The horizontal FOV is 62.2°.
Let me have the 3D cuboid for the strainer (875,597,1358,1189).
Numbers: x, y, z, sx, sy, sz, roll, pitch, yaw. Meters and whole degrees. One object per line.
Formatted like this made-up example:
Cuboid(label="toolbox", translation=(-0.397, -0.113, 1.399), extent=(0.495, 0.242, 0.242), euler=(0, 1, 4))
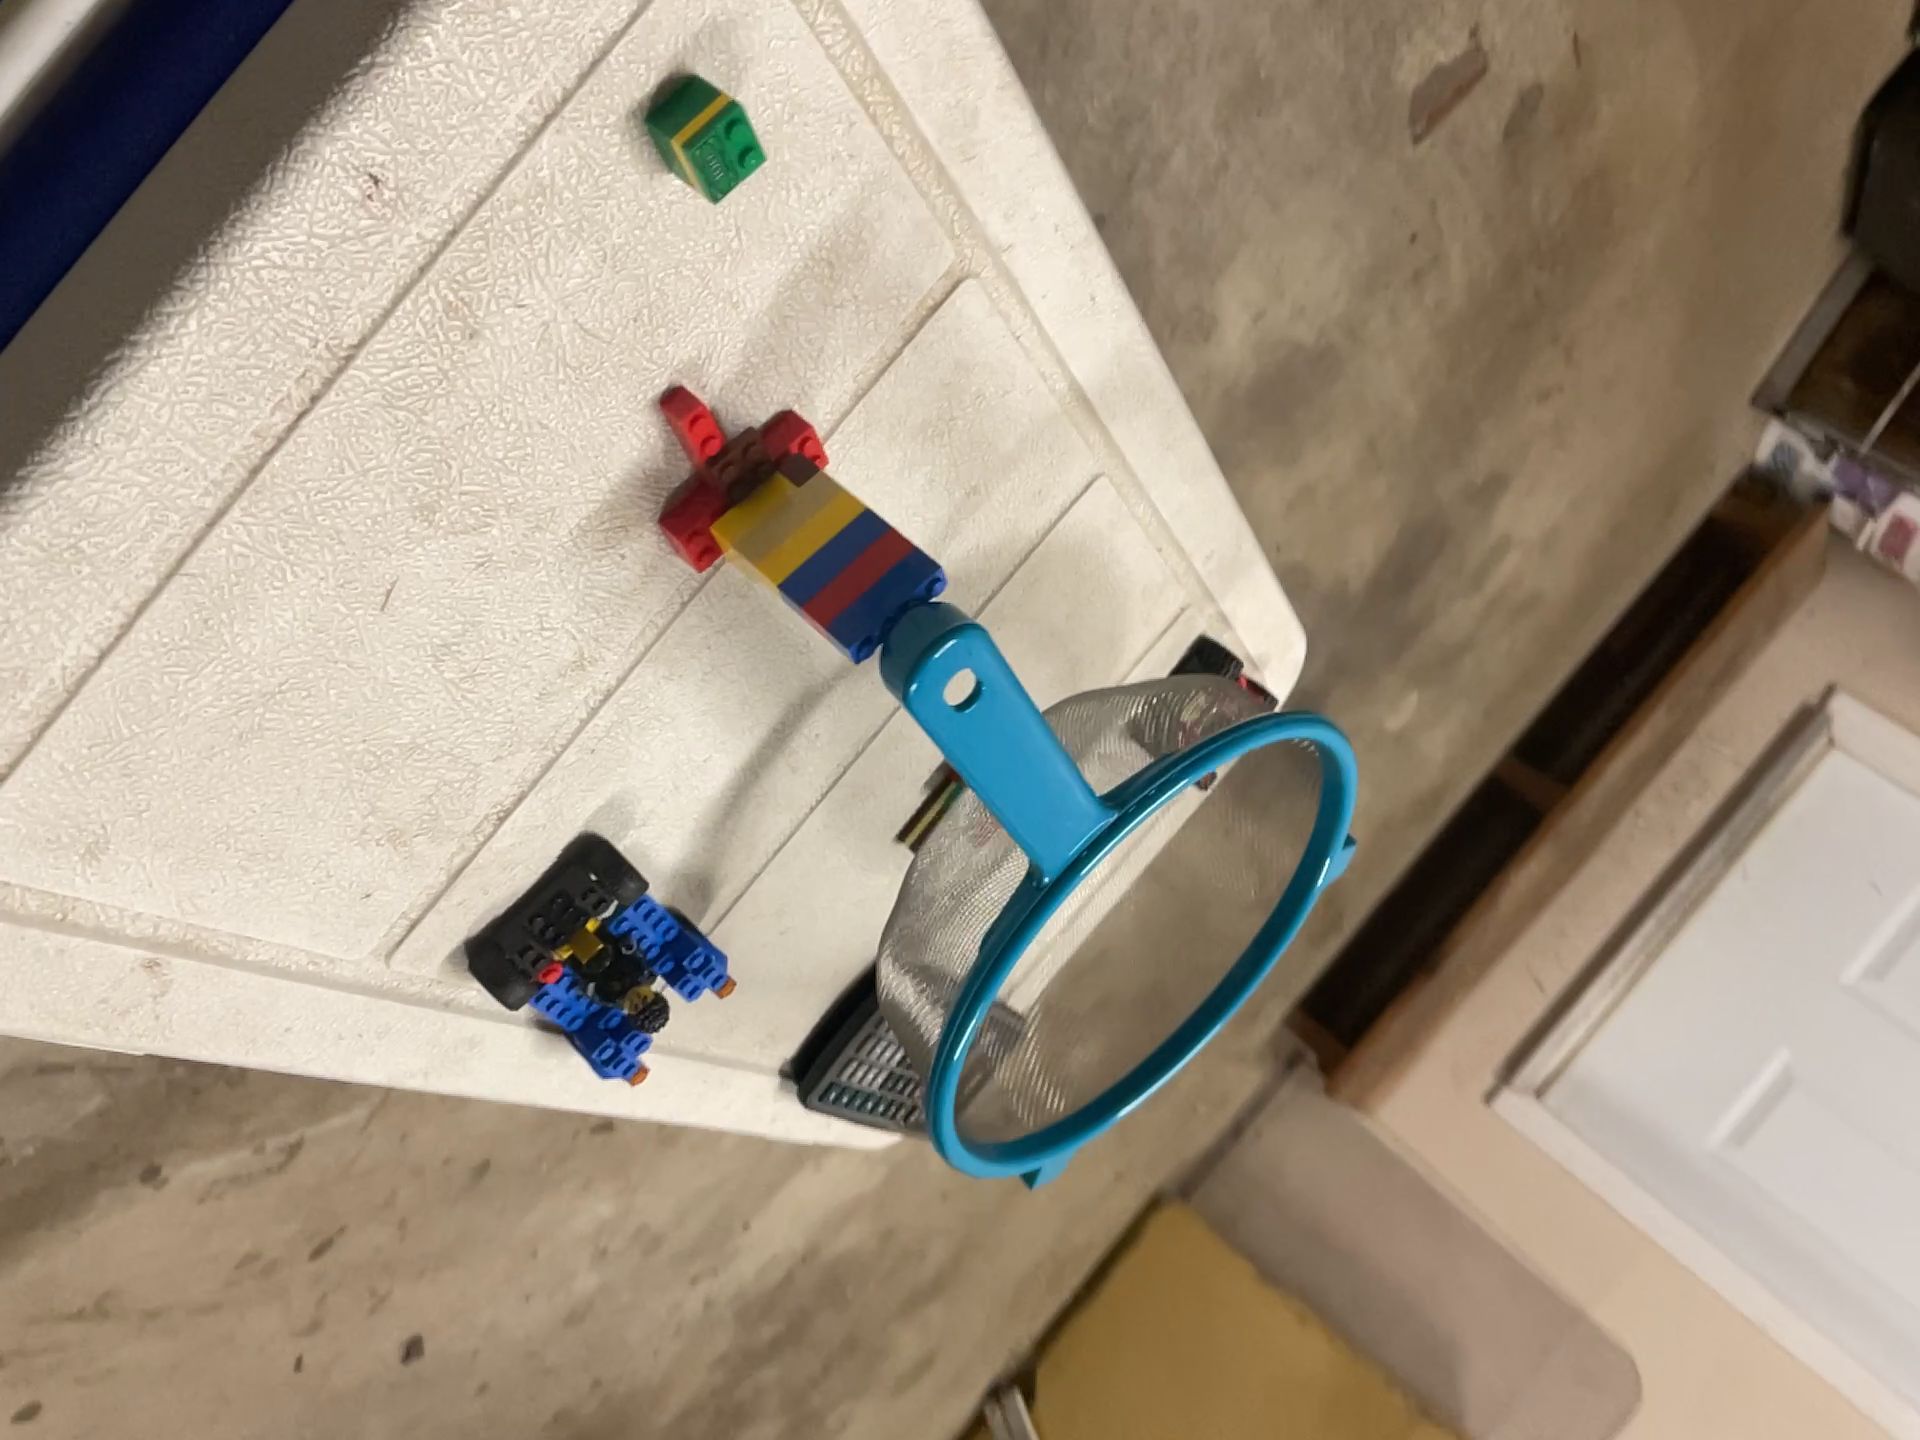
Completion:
Cuboid(label="strainer", translation=(0.023, 0.034, 0.547), extent=(0.211, 0.095, 0.339), euler=(-45, 147, -5))
